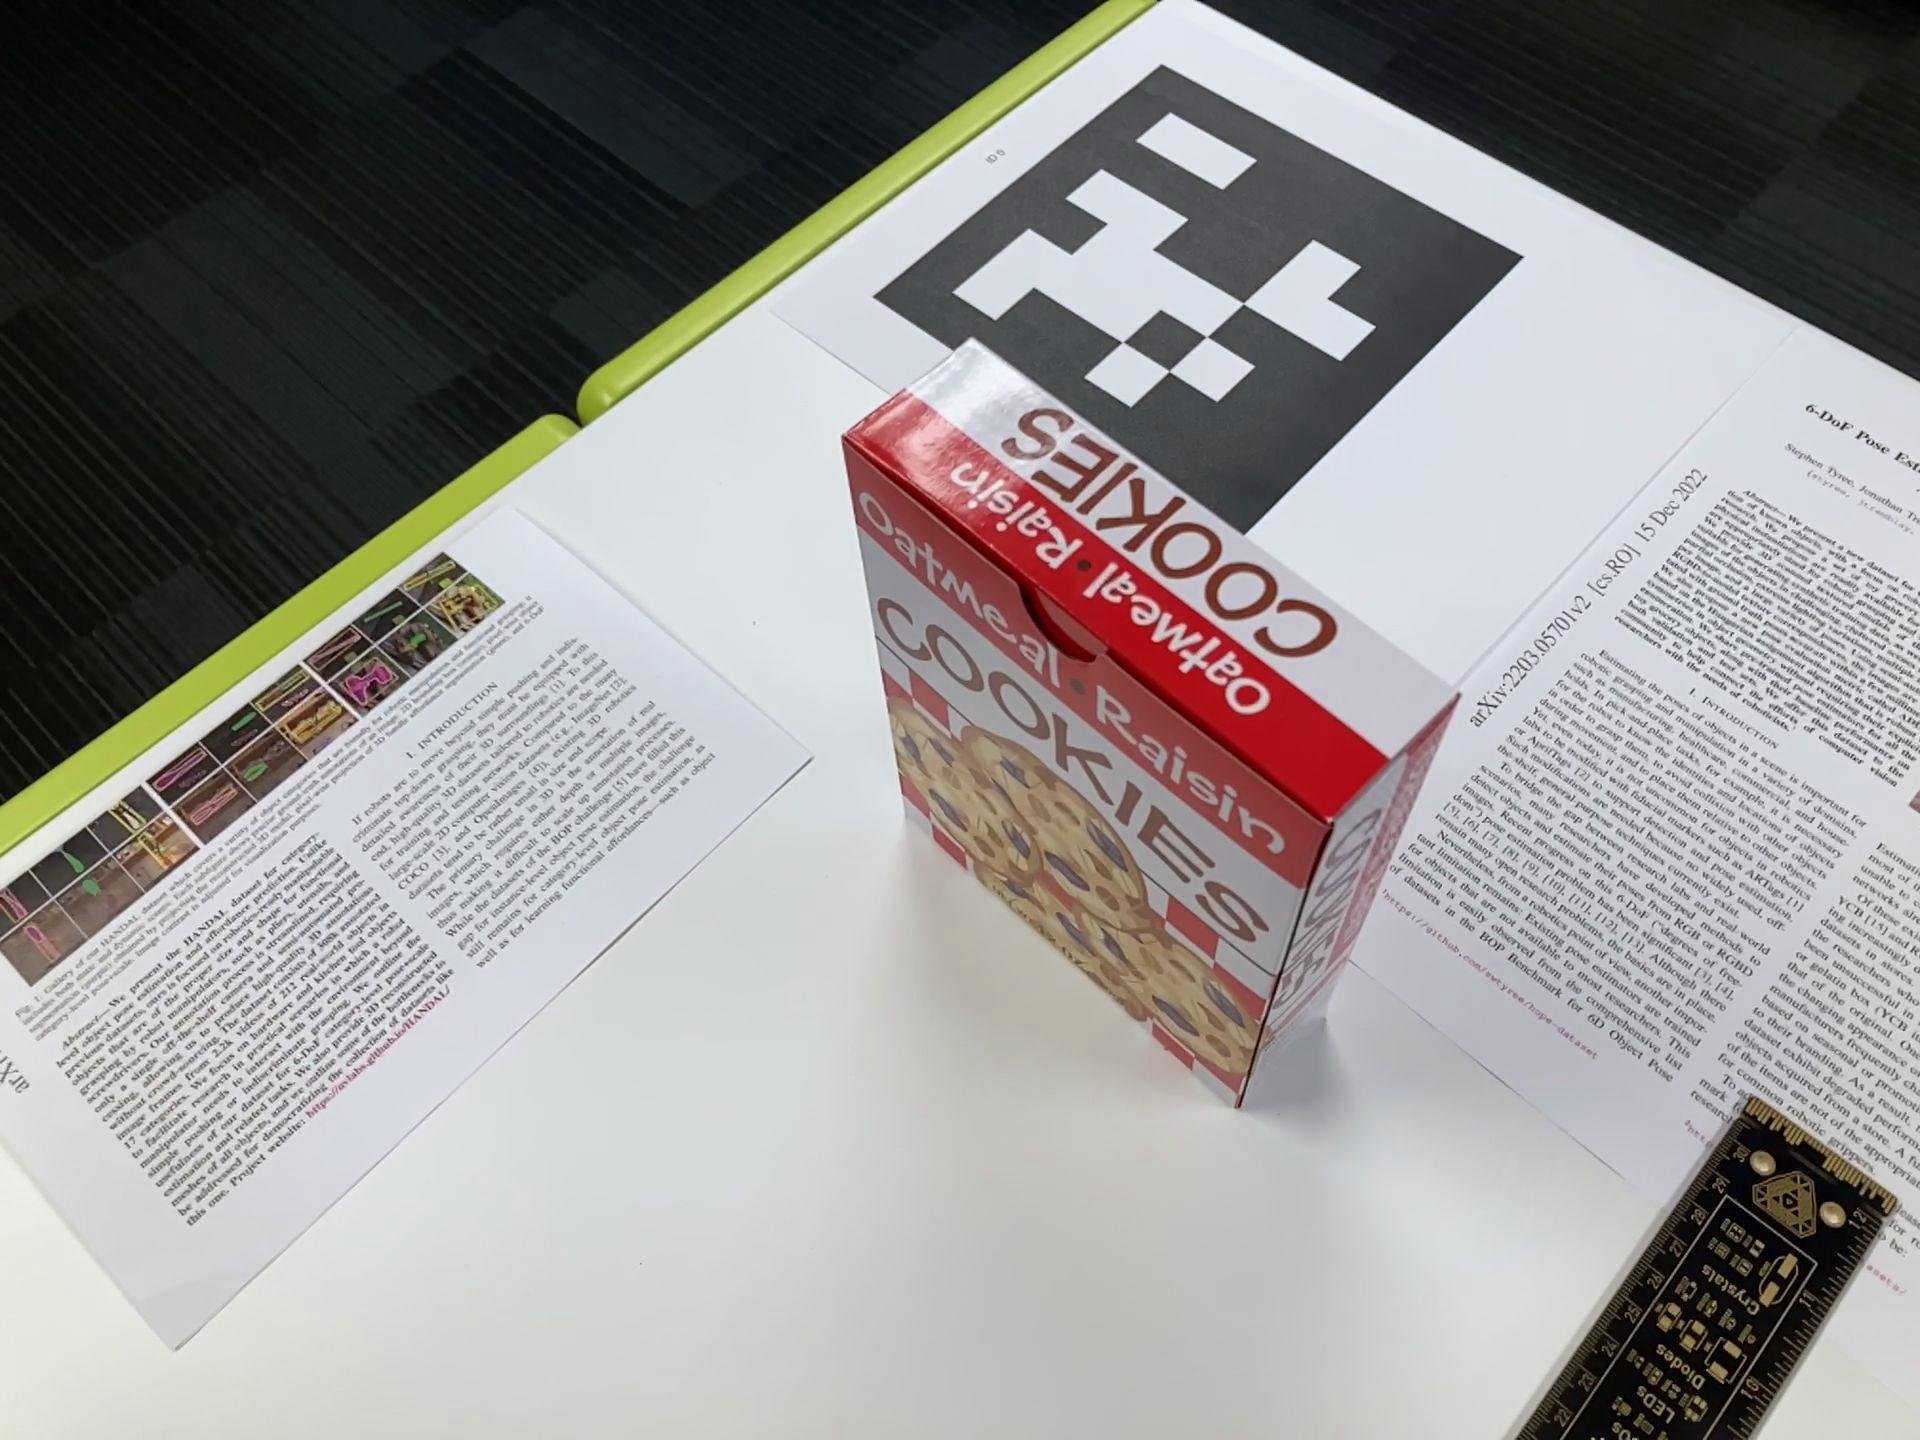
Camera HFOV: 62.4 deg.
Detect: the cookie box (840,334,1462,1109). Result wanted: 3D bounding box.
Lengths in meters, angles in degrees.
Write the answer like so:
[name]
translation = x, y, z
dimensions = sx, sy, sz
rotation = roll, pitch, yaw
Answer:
[cookie box]
translation = 0.035, 0.011, 0.359
dimensions = 0.040, 0.167, 0.123
rotation = -41, 66, -19
